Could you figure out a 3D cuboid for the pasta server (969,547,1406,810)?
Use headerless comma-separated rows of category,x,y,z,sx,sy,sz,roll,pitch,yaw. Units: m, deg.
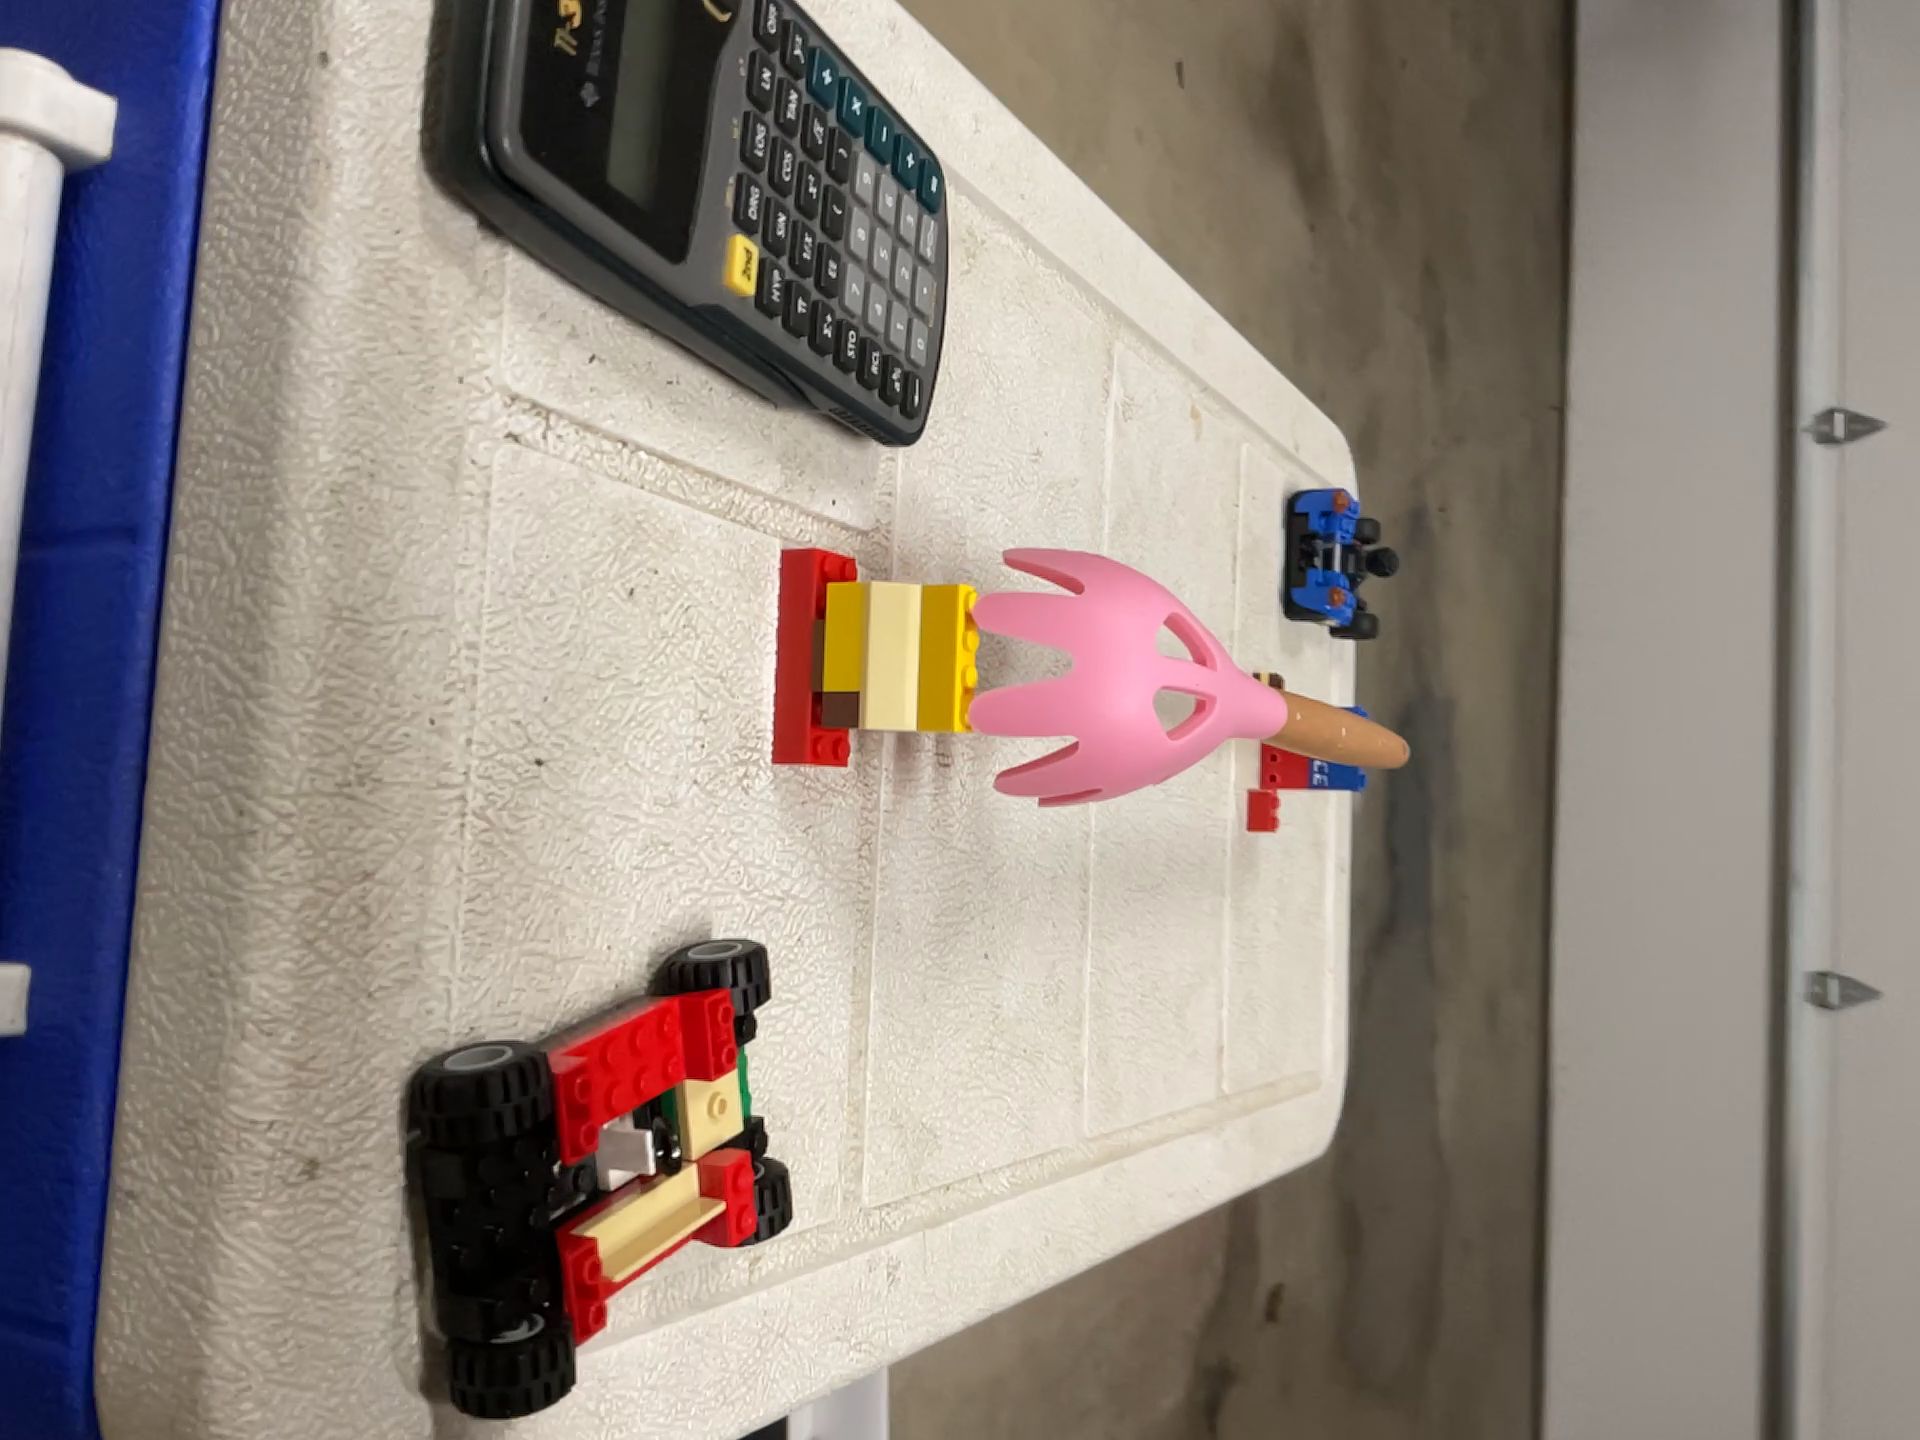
pasta server,0.088,0.000,0.471,0.316,0.040,0.060,11,79,-64
